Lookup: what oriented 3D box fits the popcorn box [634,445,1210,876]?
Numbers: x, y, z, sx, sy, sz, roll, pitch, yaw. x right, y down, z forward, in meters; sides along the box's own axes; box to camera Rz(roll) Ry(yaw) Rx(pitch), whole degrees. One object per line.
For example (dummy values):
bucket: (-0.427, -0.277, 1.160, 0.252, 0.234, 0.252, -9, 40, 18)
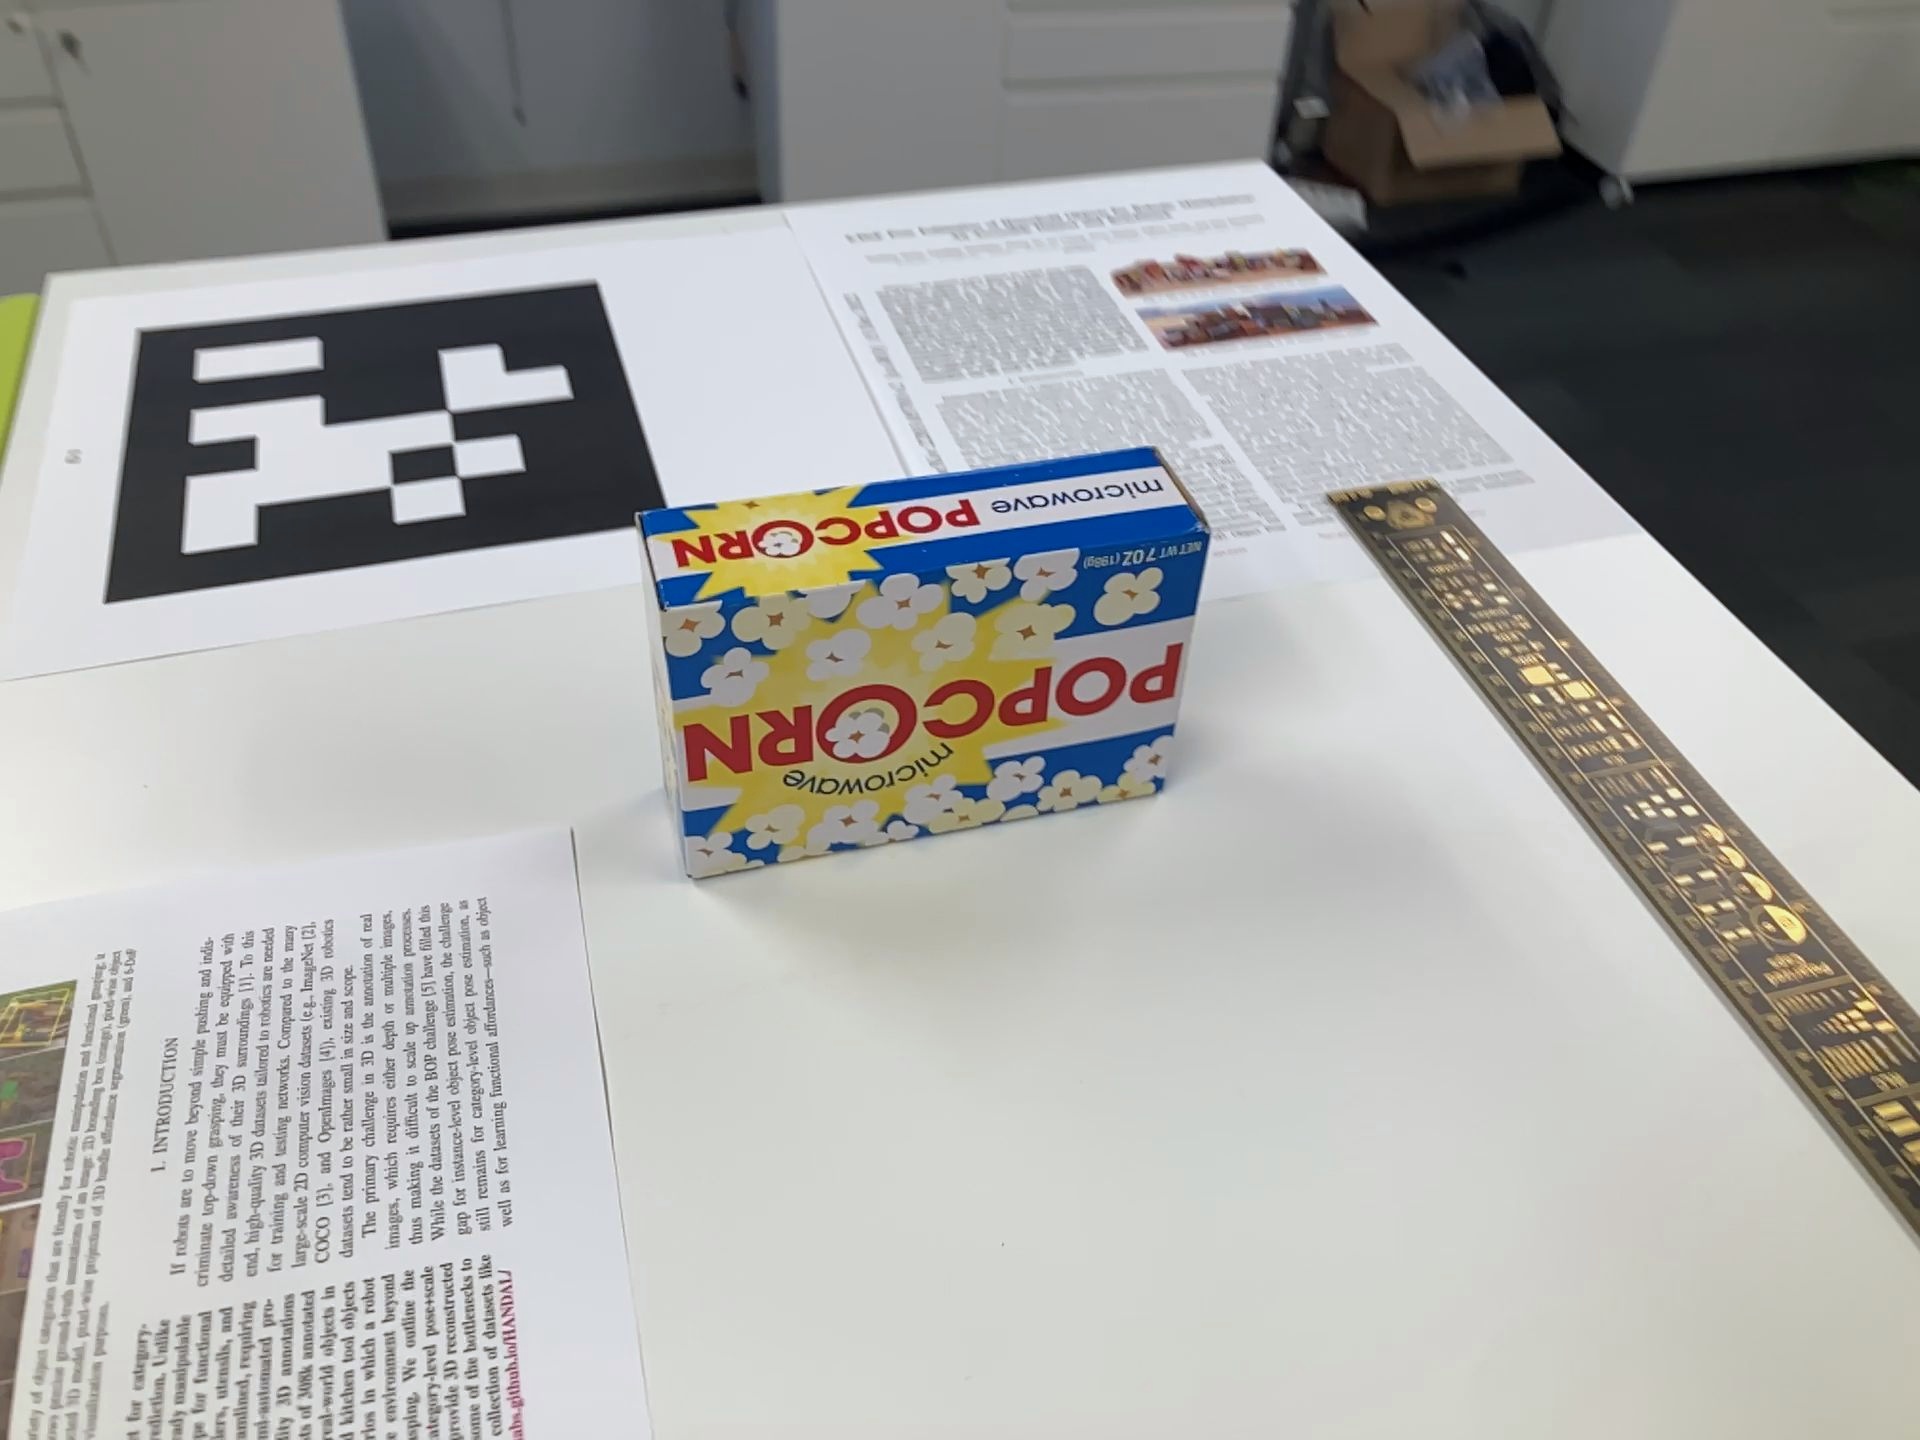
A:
popcorn box: (-0.009, -0.014, 0.382, 0.126, 0.085, 0.038, -9, 44, -14)
